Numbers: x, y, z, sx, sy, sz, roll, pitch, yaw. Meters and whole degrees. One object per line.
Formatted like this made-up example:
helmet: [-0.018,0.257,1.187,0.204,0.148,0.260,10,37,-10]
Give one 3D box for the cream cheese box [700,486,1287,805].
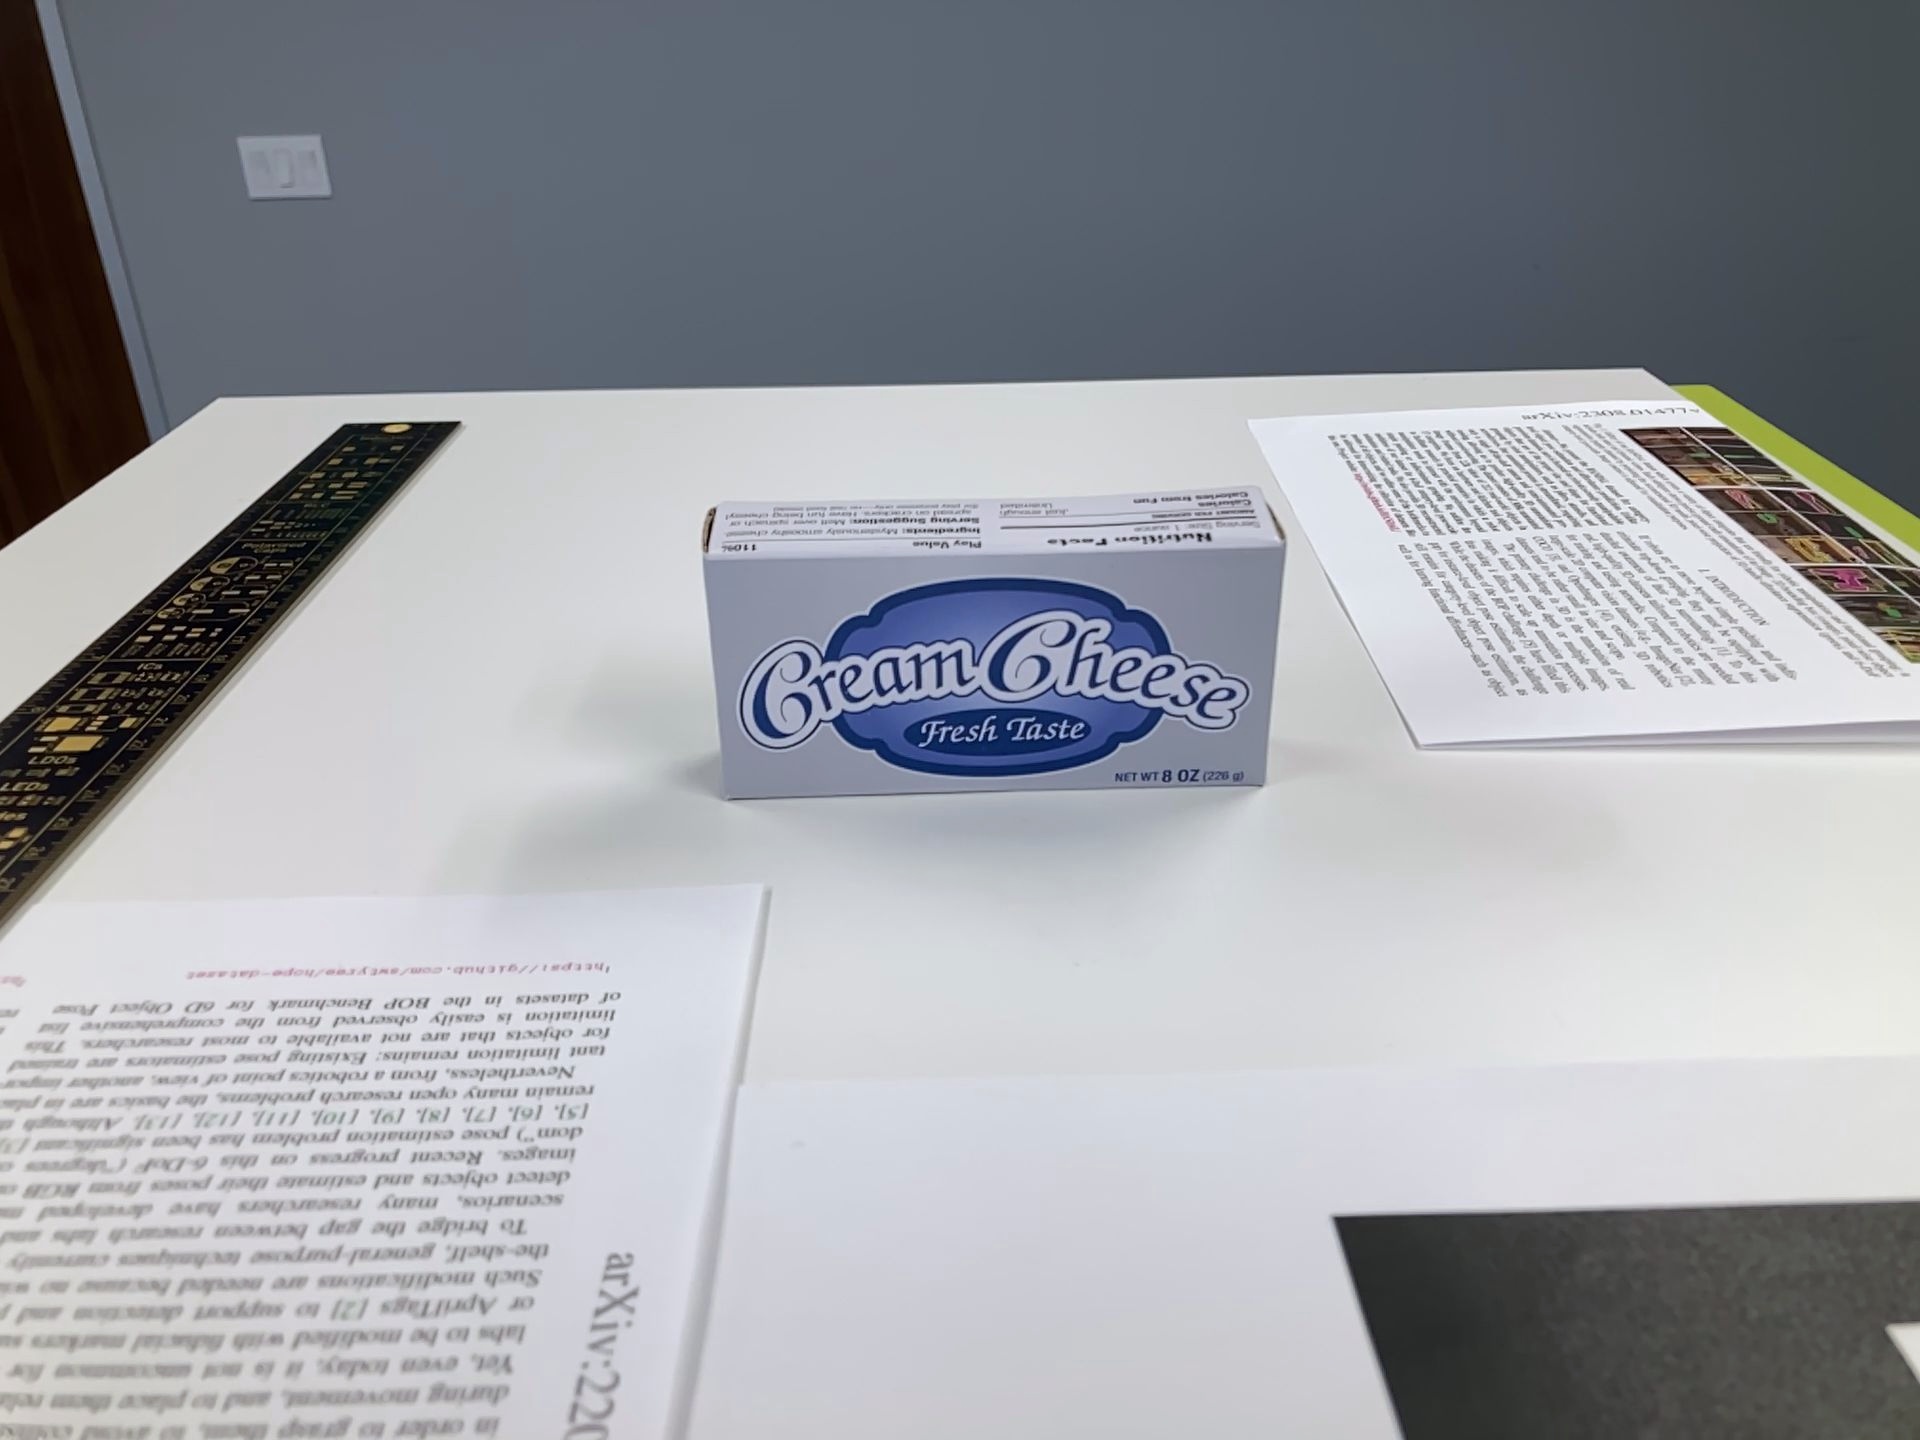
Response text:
cream cheese box: [0.006,-0.013,0.295,0.104,0.053,0.024,-2,29,-1]
